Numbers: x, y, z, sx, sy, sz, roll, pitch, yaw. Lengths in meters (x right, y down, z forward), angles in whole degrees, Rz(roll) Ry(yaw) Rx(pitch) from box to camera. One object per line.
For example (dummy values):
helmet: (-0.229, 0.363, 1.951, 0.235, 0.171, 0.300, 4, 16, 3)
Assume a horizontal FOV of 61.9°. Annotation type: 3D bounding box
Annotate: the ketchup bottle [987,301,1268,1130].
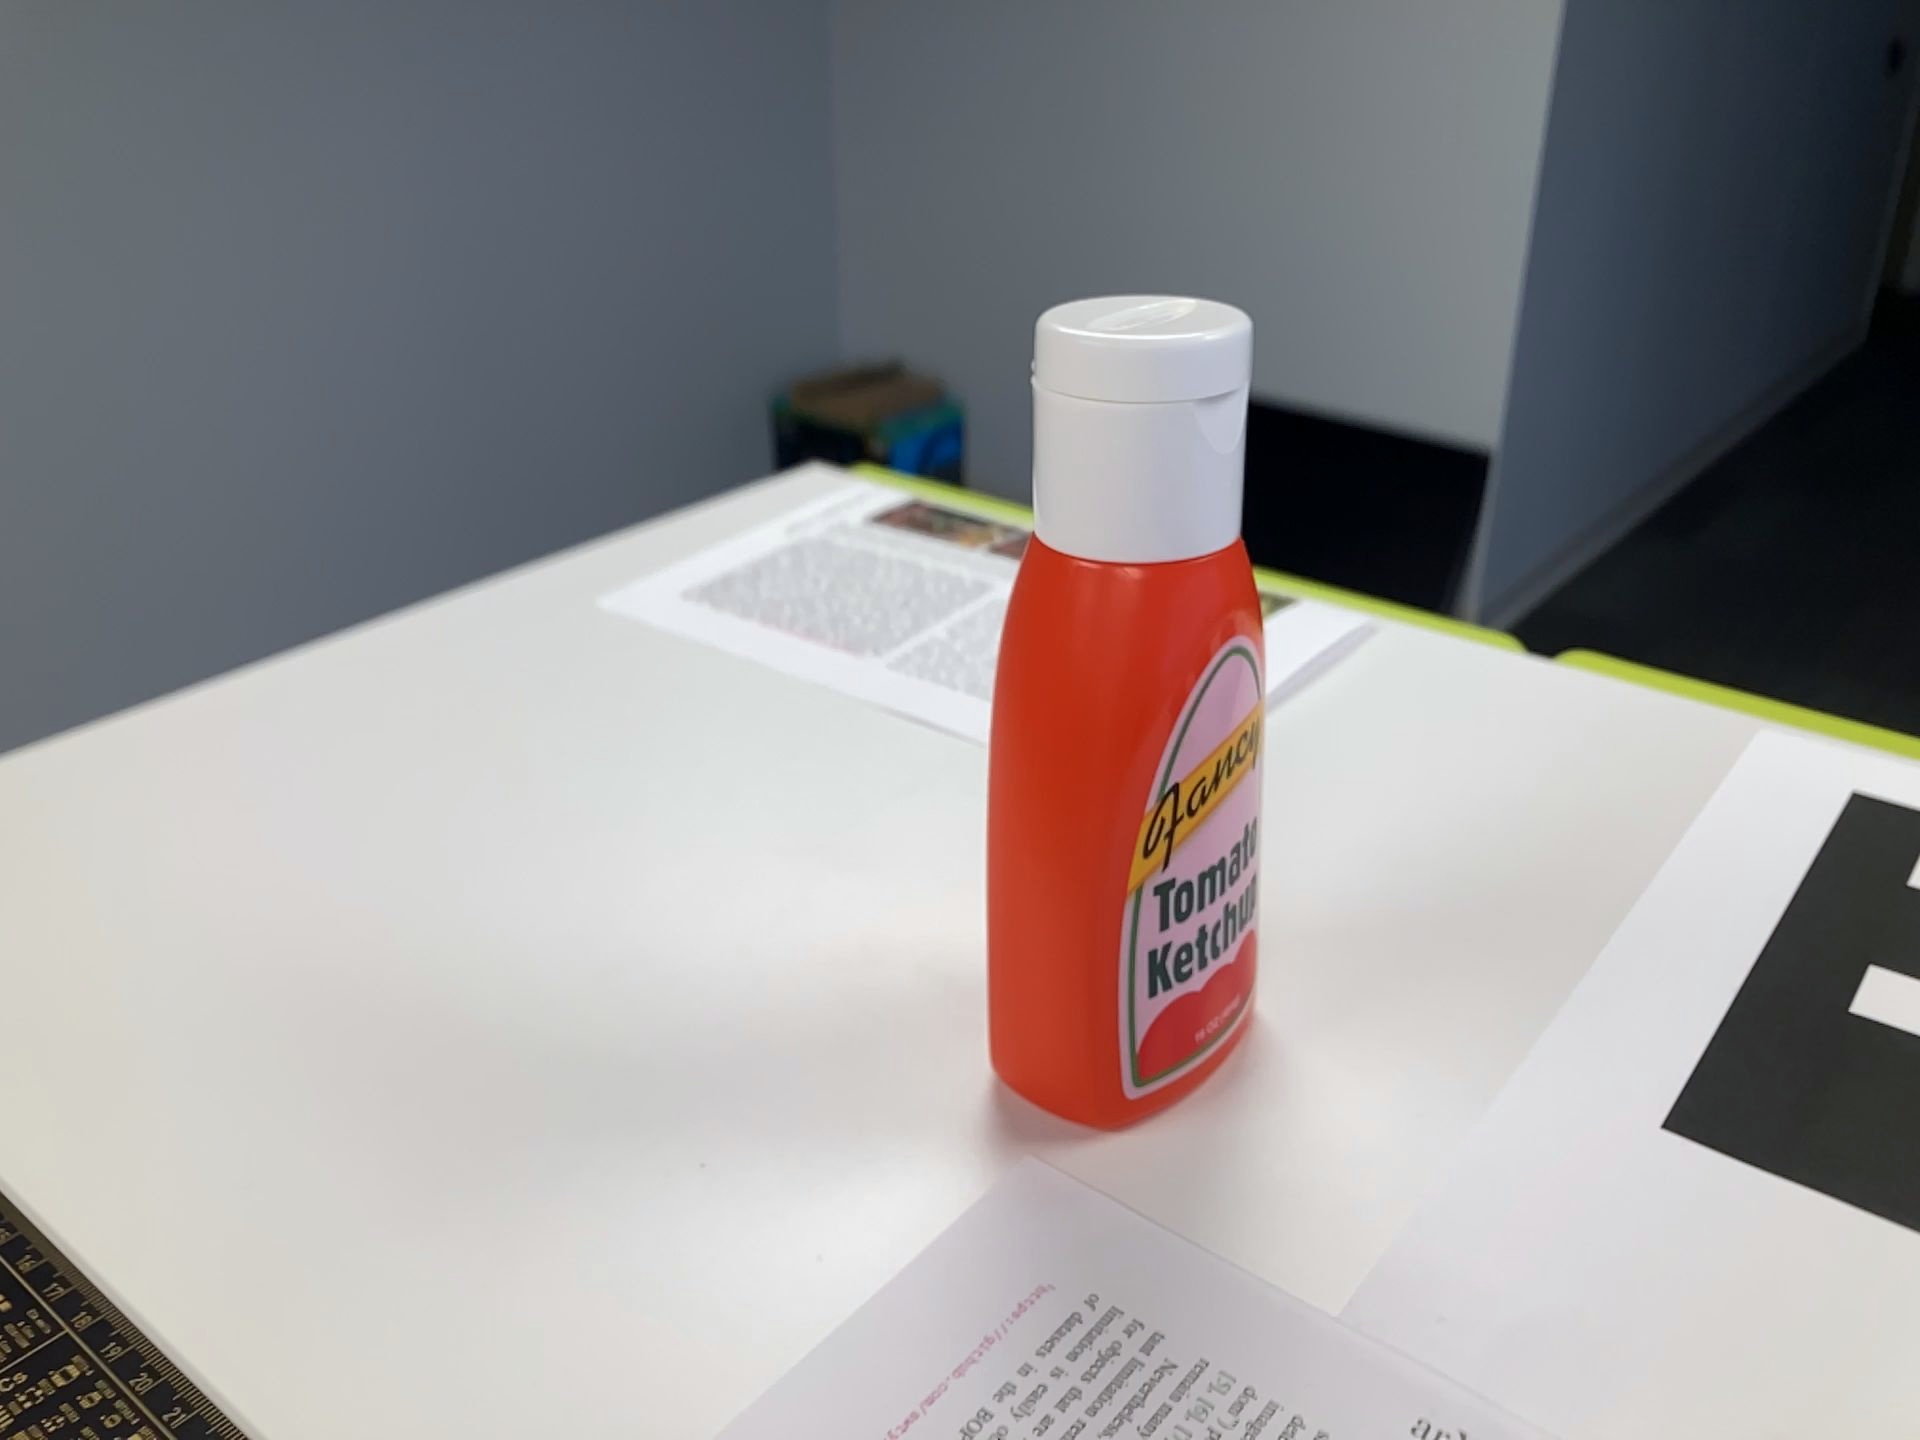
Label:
ketchup bottle: (0.032, 0.000, 0.299, 0.043, 0.149, 0.065, 18, 32, 36)
